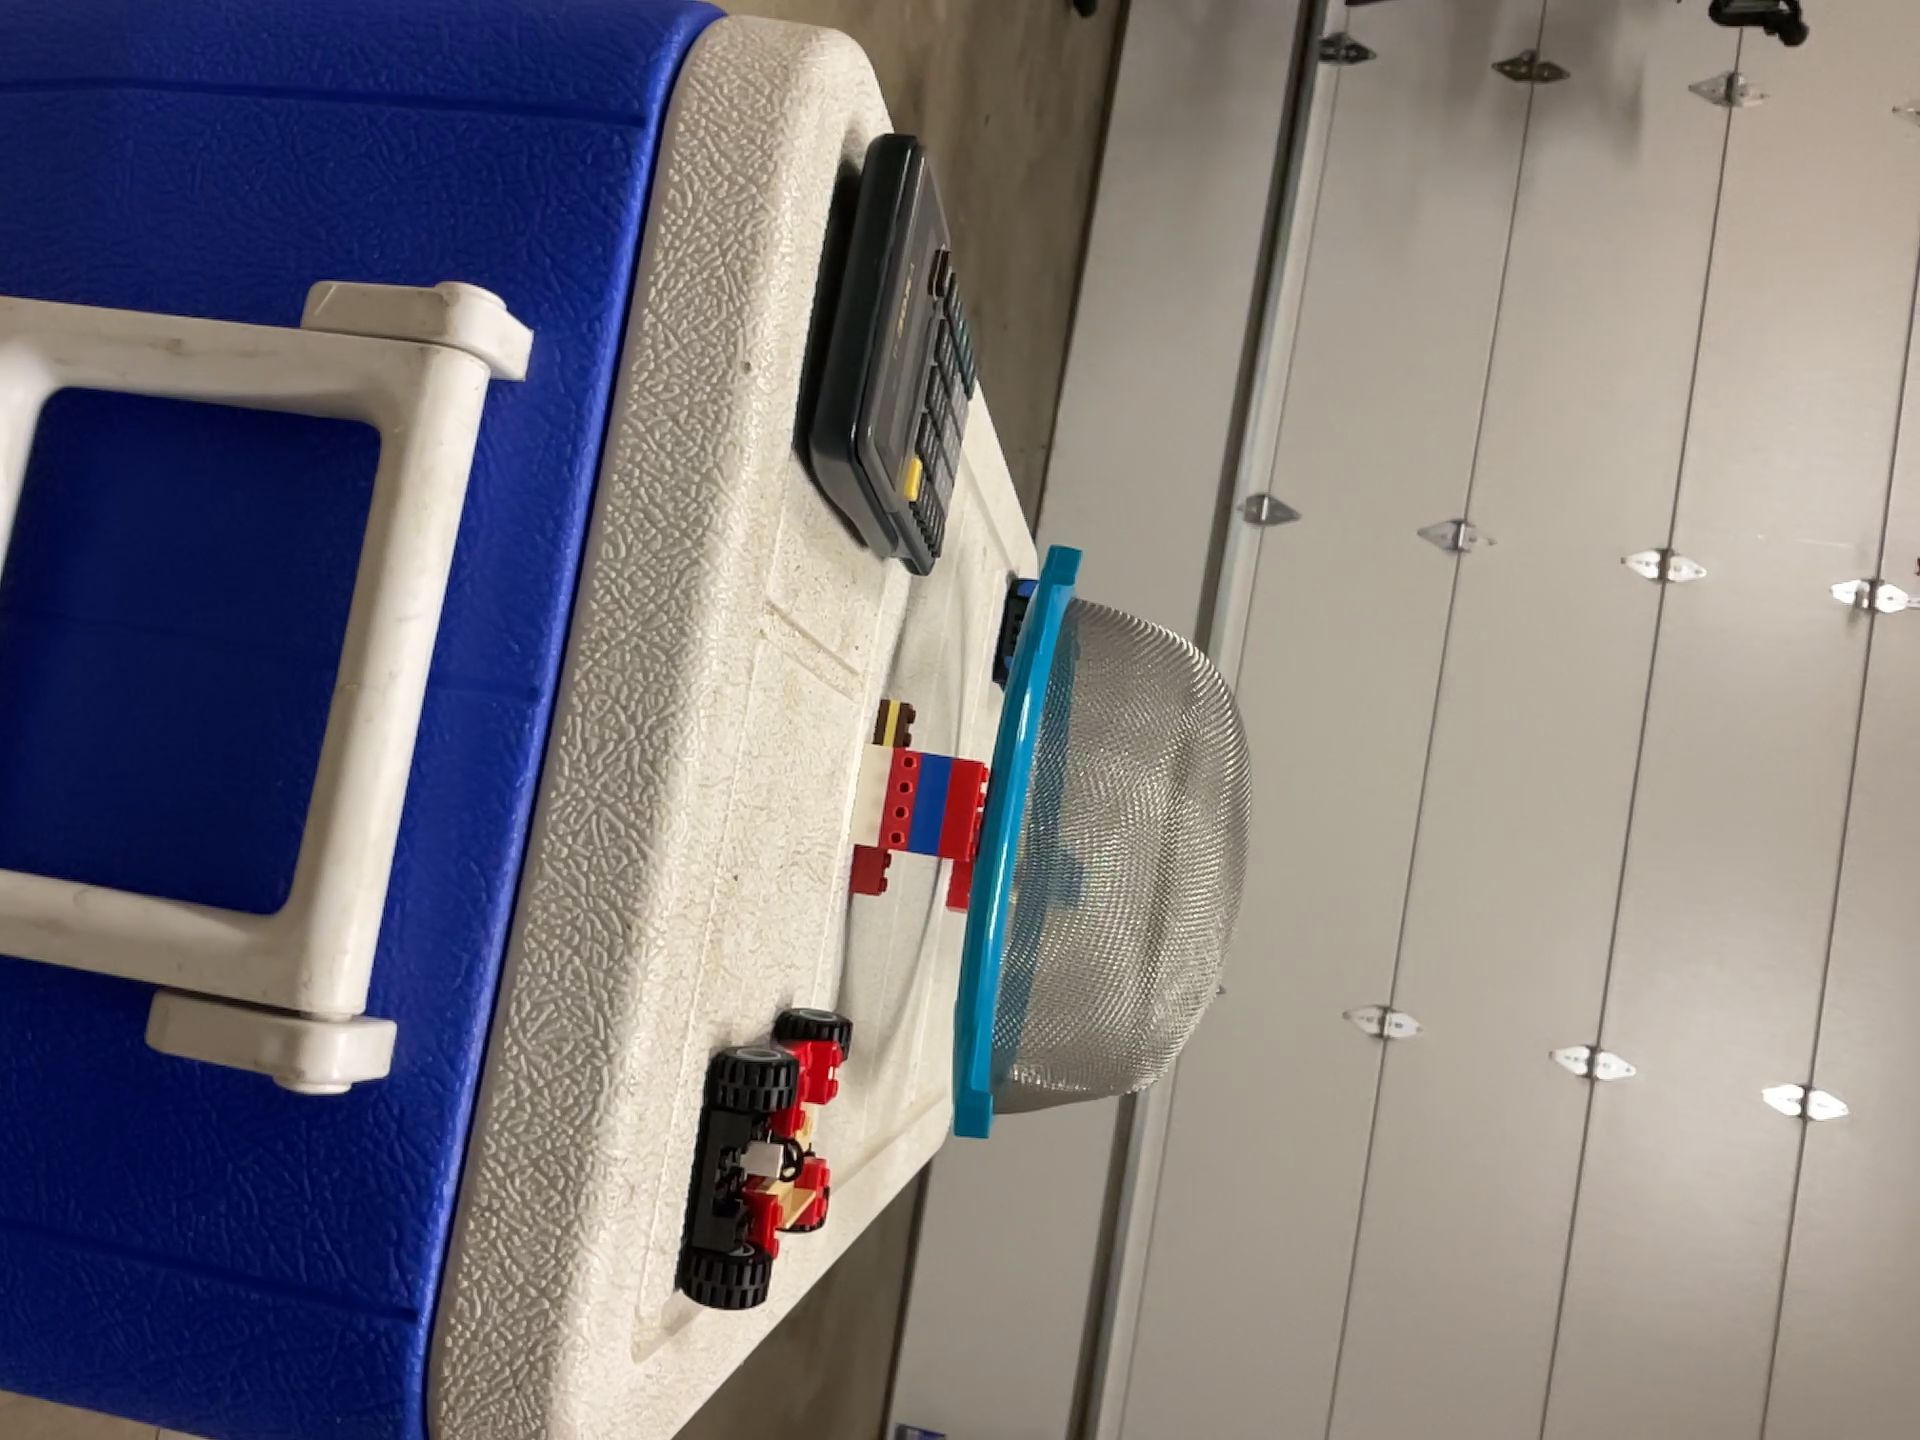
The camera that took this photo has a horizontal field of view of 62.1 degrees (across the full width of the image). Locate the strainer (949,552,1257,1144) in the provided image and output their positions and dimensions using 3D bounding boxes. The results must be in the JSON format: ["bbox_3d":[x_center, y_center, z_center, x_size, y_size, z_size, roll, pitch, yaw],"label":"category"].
[{"bbox_3d":[0.070,0.066,0.661,0.340,0.095,0.211,49,50,-78],"label":"strainer"}]
